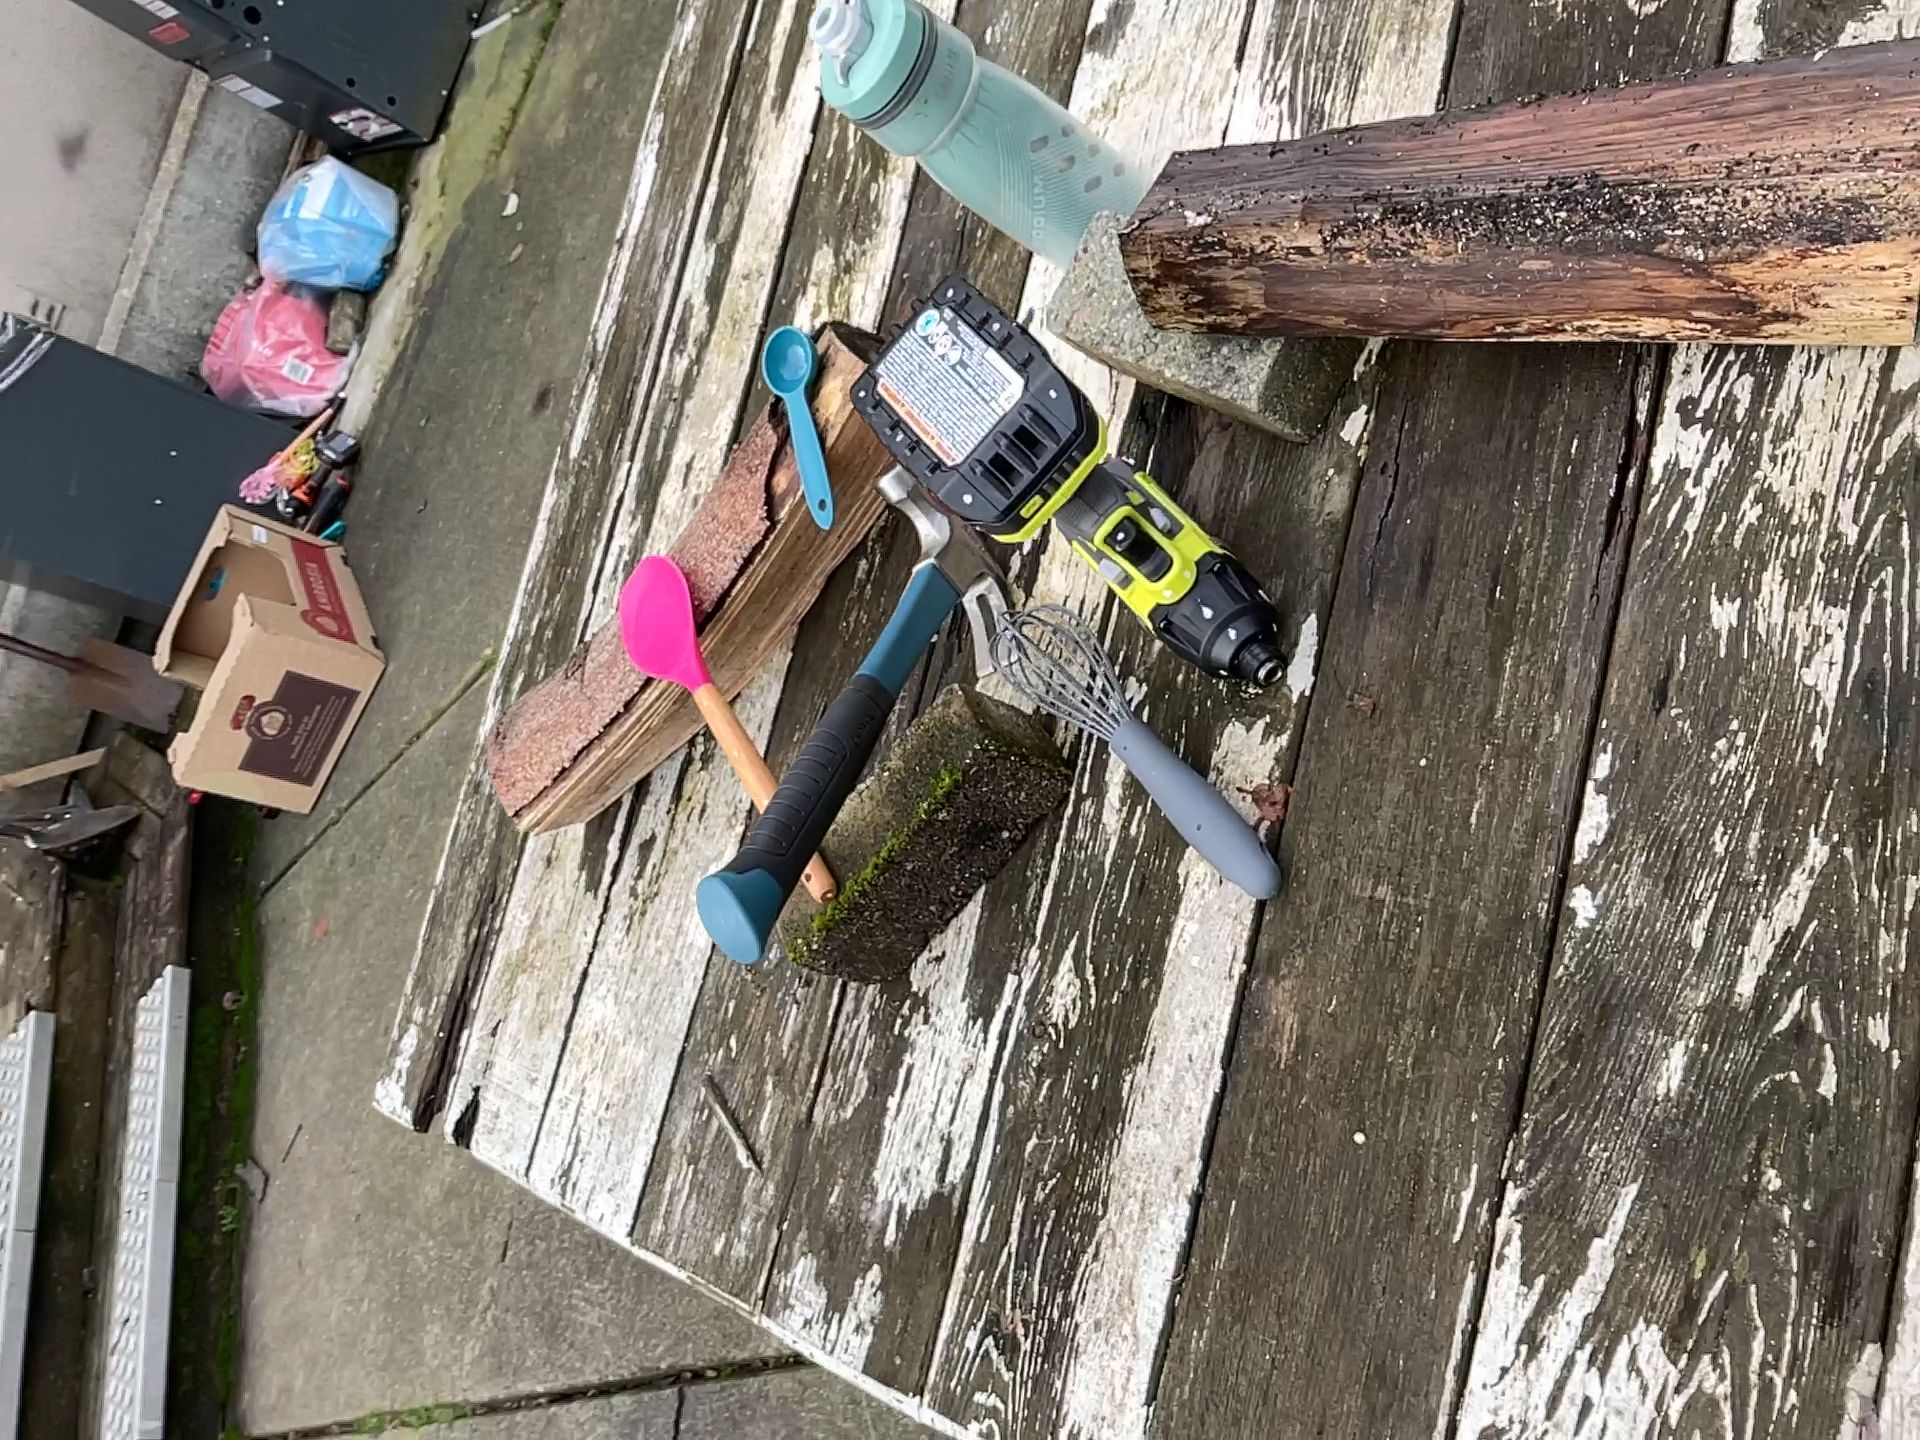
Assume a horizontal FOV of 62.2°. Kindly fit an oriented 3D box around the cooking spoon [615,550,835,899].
[{"bbox_3d":[-0.149,-0.003,0.982,0.069,0.017,0.319,-52,49,17],"label":"cooking spoon"}]

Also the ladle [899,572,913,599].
[{"bbox_3d":[-0.032,-0.071,1.007,0.069,0.031,0.315,30,99,46],"label":"ladle"}]

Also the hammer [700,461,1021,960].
[{"bbox_3d":[-0.052,-0.007,0.854,0.033,0.128,0.331,-26,25,40],"label":"hammer"}]

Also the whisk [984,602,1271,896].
[{"bbox_3d":[0.084,0.011,0.829,0.239,0.055,0.055,50,119,41],"label":"whisk"}]

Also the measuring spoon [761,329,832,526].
[{"bbox_3d":[-0.094,-0.183,1.002,0.042,0.021,0.129,-19,83,40],"label":"measuring spoon"}]

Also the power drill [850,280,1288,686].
[{"bbox_3d":[0.064,-0.103,0.773,0.080,0.222,0.171,-48,47,11],"label":"power drill"}]
